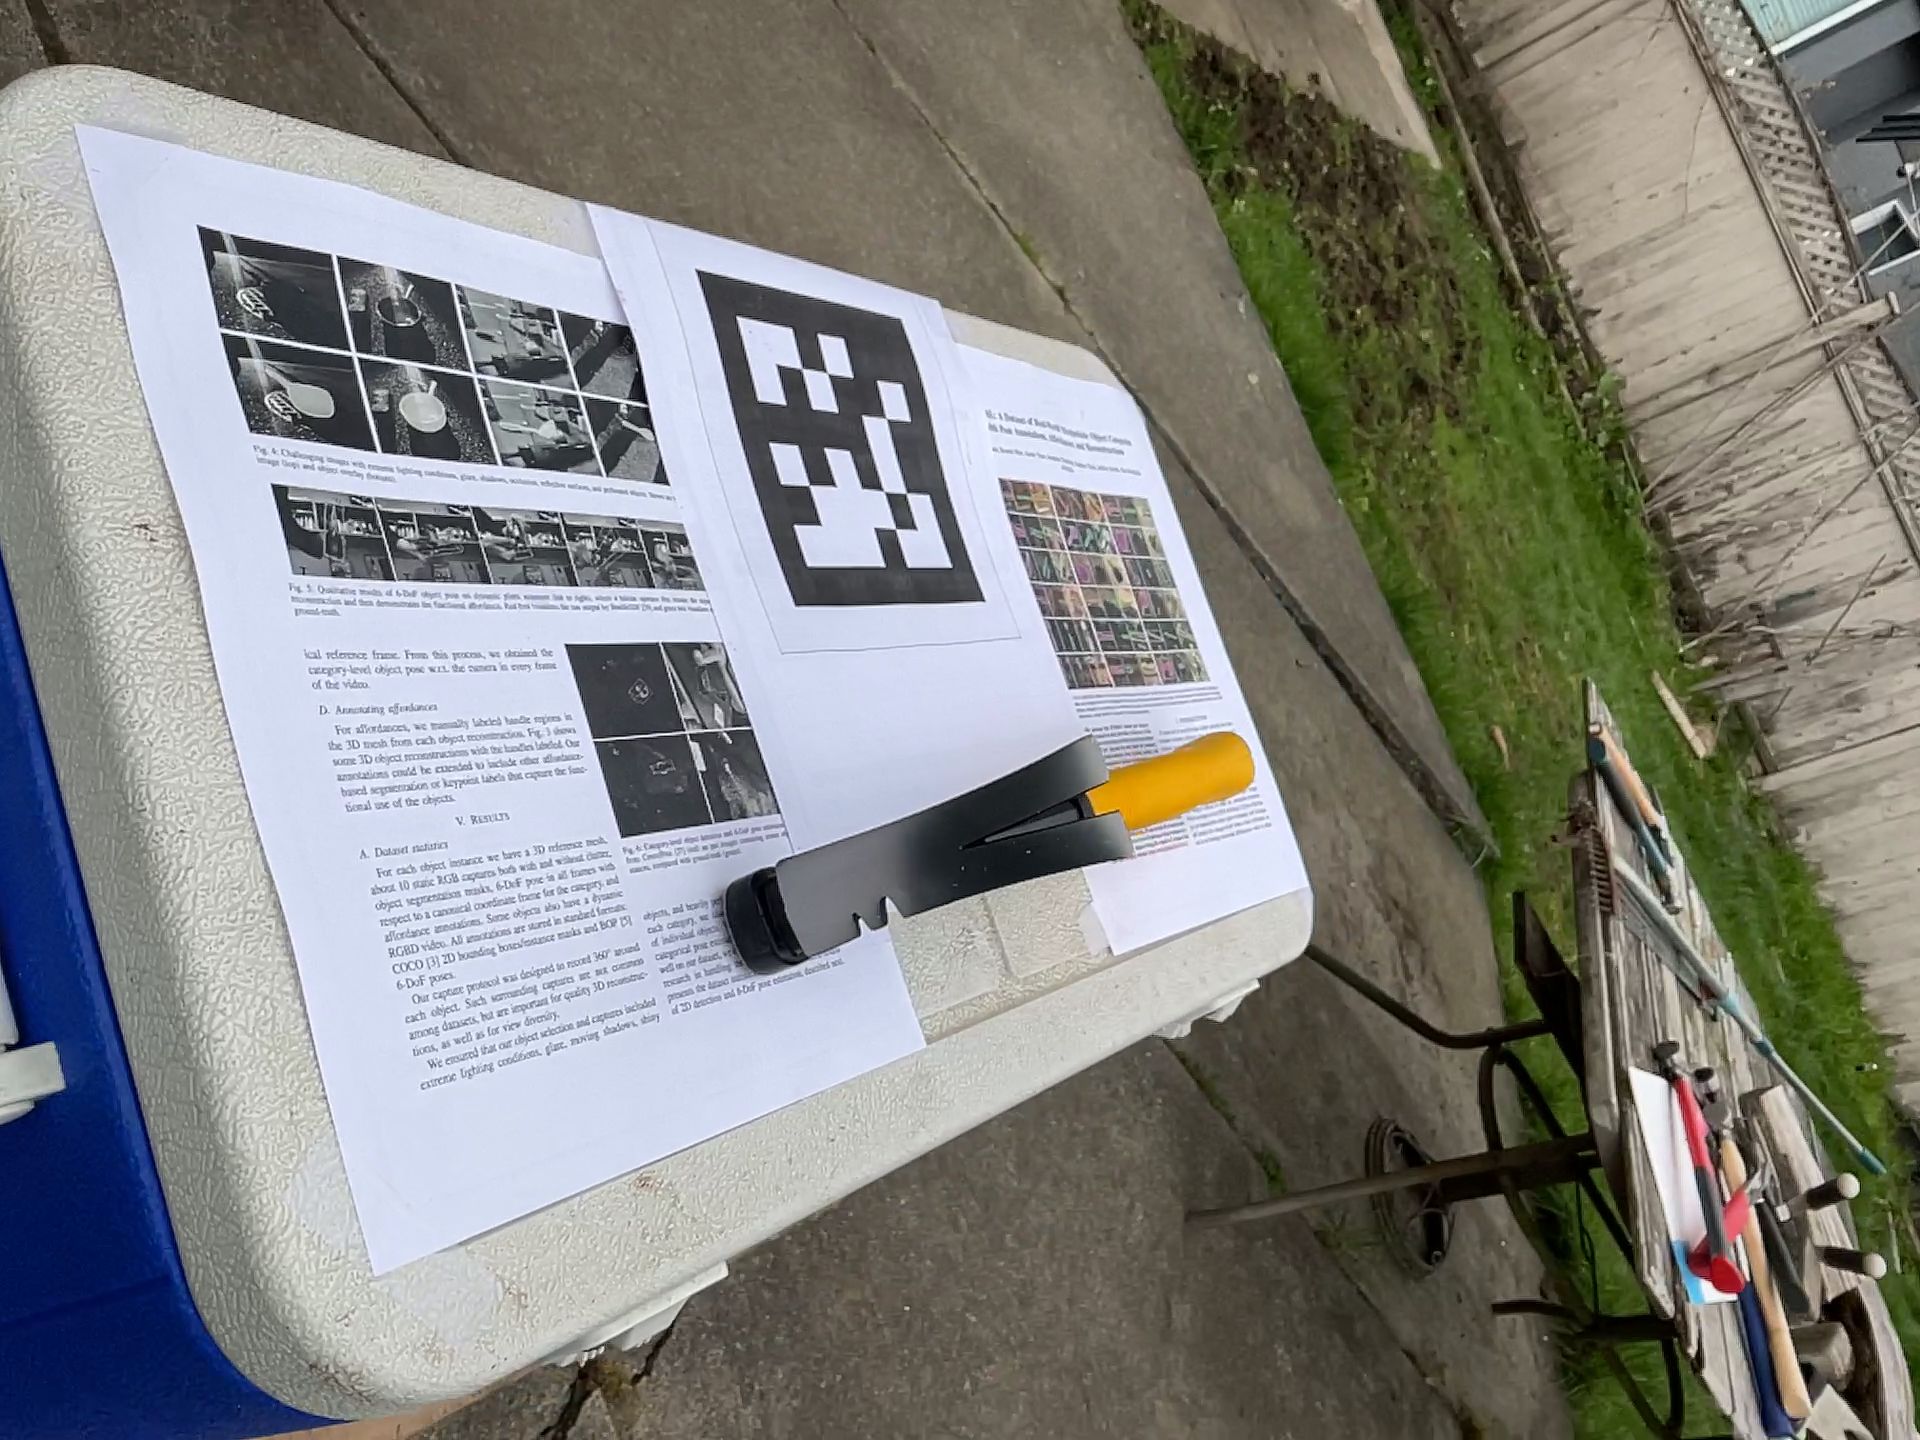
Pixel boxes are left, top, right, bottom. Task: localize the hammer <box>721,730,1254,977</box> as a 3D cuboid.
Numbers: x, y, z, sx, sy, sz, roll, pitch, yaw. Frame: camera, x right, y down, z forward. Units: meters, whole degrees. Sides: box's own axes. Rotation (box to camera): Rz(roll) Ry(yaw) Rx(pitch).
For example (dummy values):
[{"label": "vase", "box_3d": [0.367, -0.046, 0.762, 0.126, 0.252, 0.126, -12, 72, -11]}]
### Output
[{"label": "hammer", "box_3d": [0.055, 0.030, 0.591, 0.336, 0.127, 0.034, -9, 78, -64]}]
